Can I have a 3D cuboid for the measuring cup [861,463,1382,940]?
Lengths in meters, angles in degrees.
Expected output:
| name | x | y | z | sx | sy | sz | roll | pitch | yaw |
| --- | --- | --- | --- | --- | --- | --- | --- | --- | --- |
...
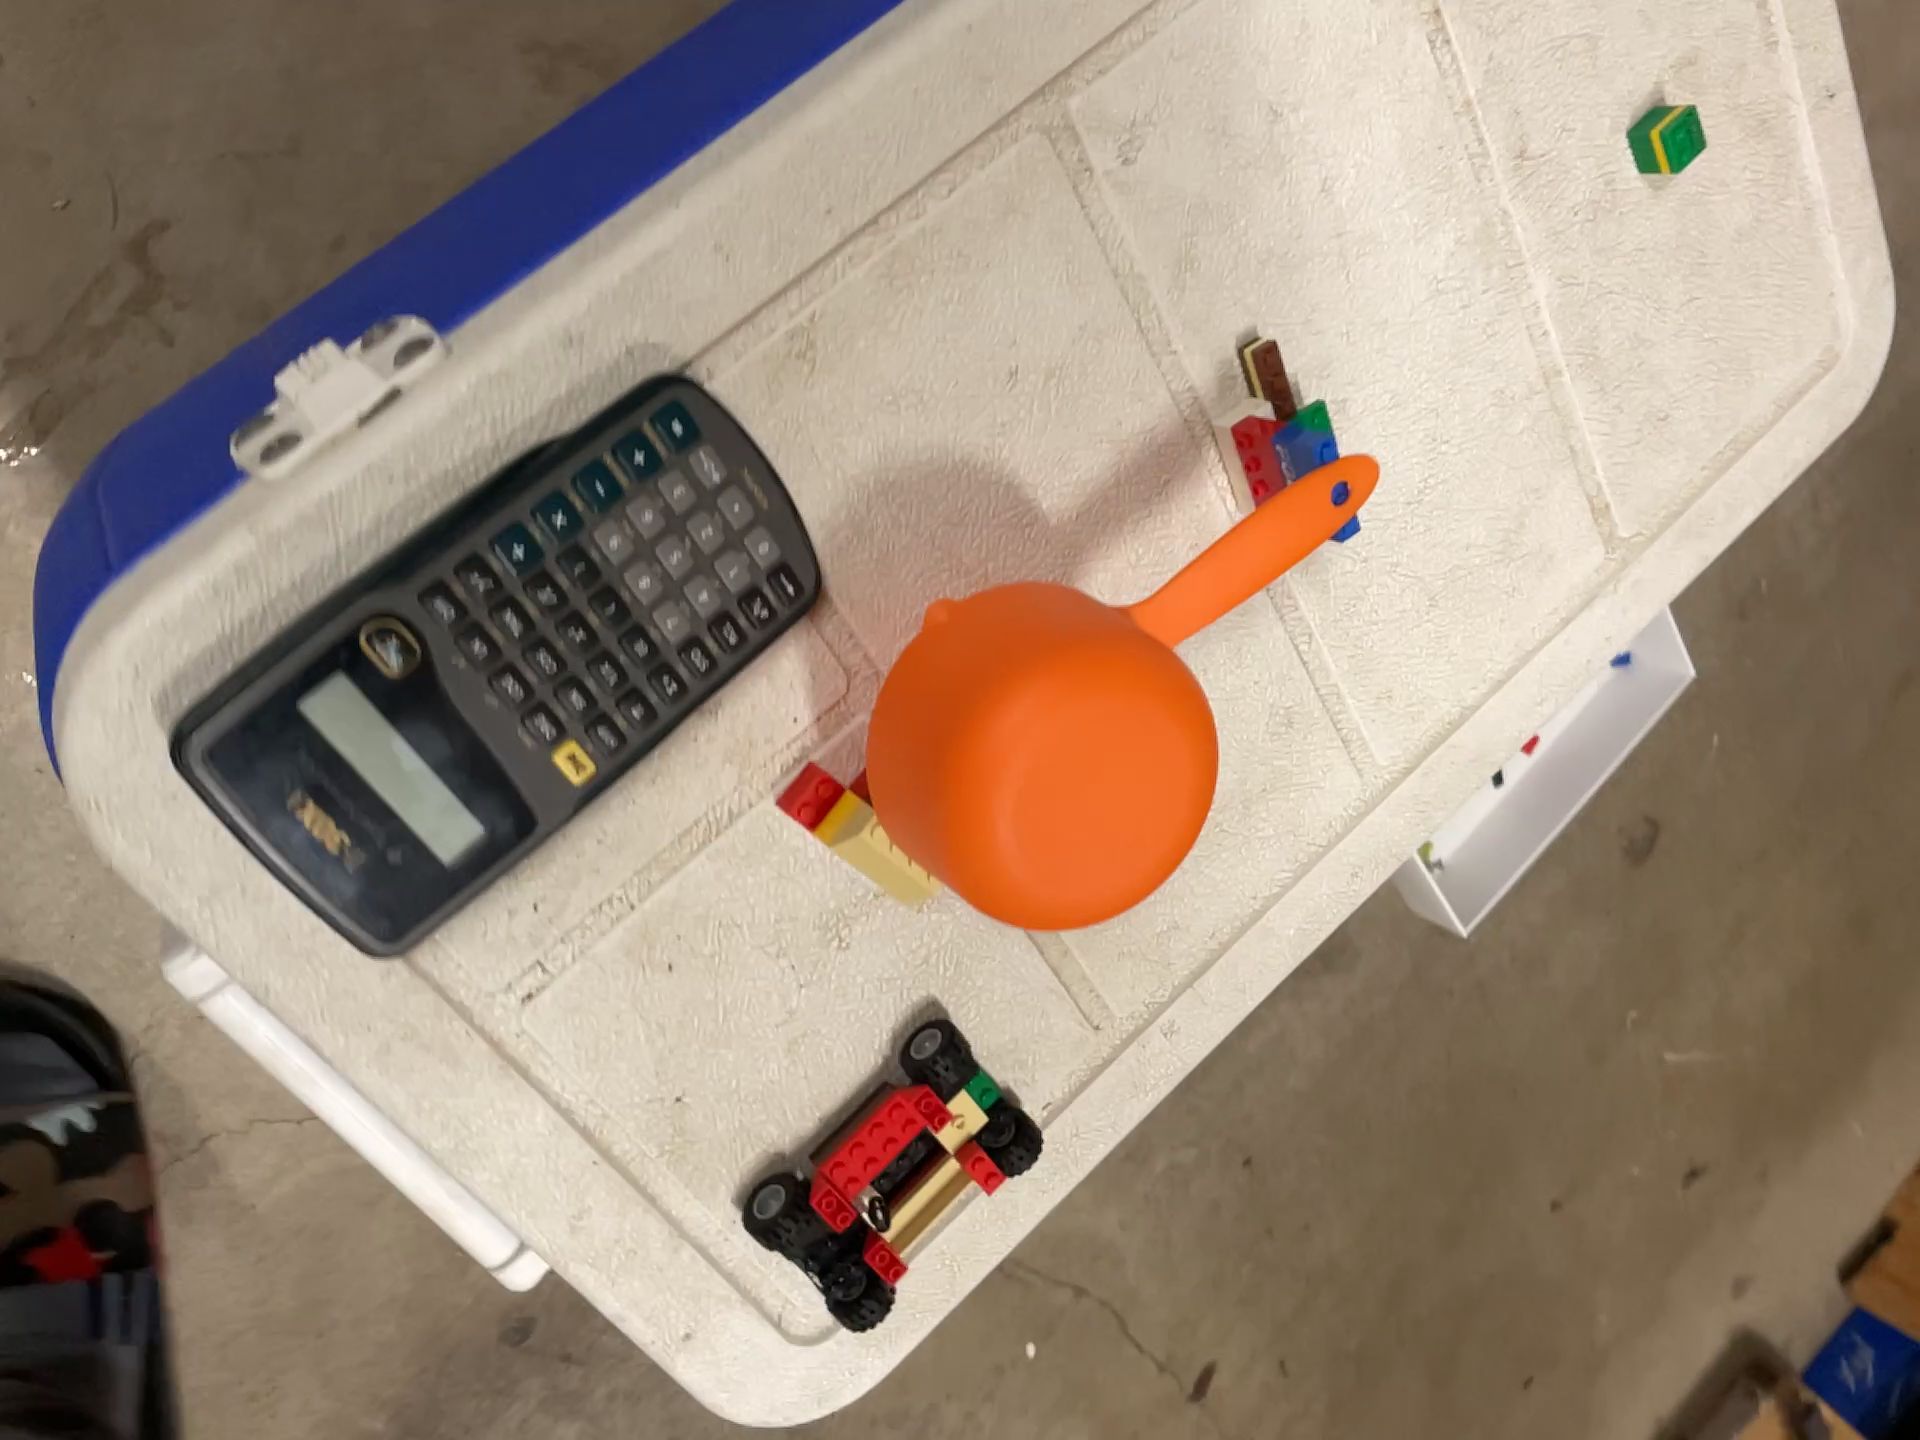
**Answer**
| name | x | y | z | sx | sy | sz | roll | pitch | yaw |
| --- | --- | --- | --- | --- | --- | --- | --- | --- | --- |
| measuring cup | 0.058 | -0.012 | 0.419 | 0.173 | 0.052 | 0.095 | -36 | 122 | -9 |
